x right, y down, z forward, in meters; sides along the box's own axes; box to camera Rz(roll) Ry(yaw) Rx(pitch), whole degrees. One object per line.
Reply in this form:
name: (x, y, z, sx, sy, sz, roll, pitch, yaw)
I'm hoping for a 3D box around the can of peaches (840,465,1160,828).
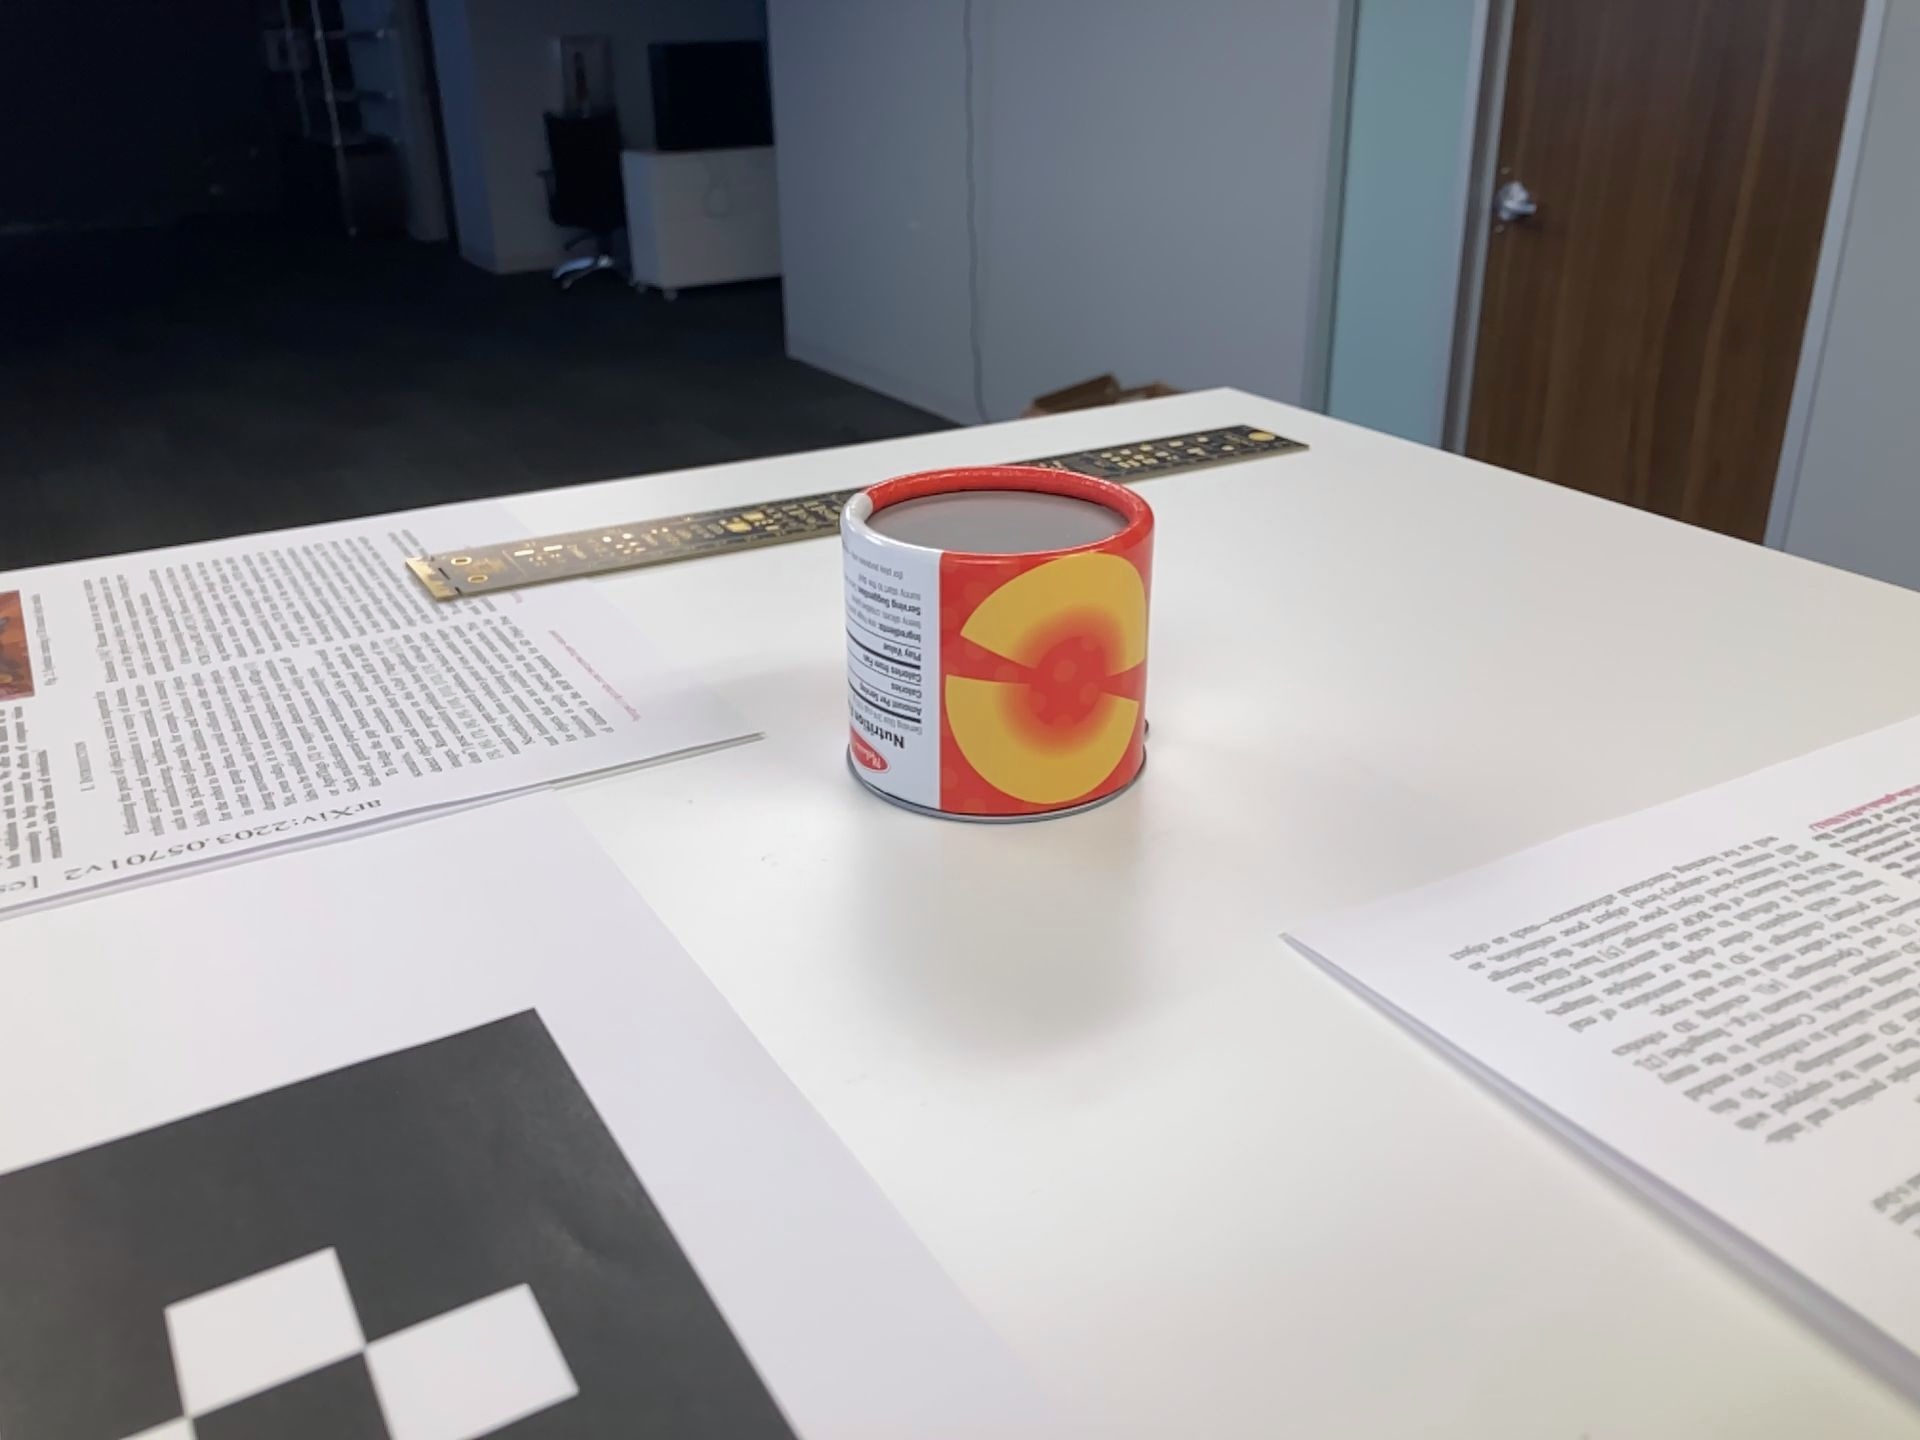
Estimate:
can of peaches: (0.010, -0.018, 0.336, 0.071, 0.058, 0.071, -1, 24, 1)
